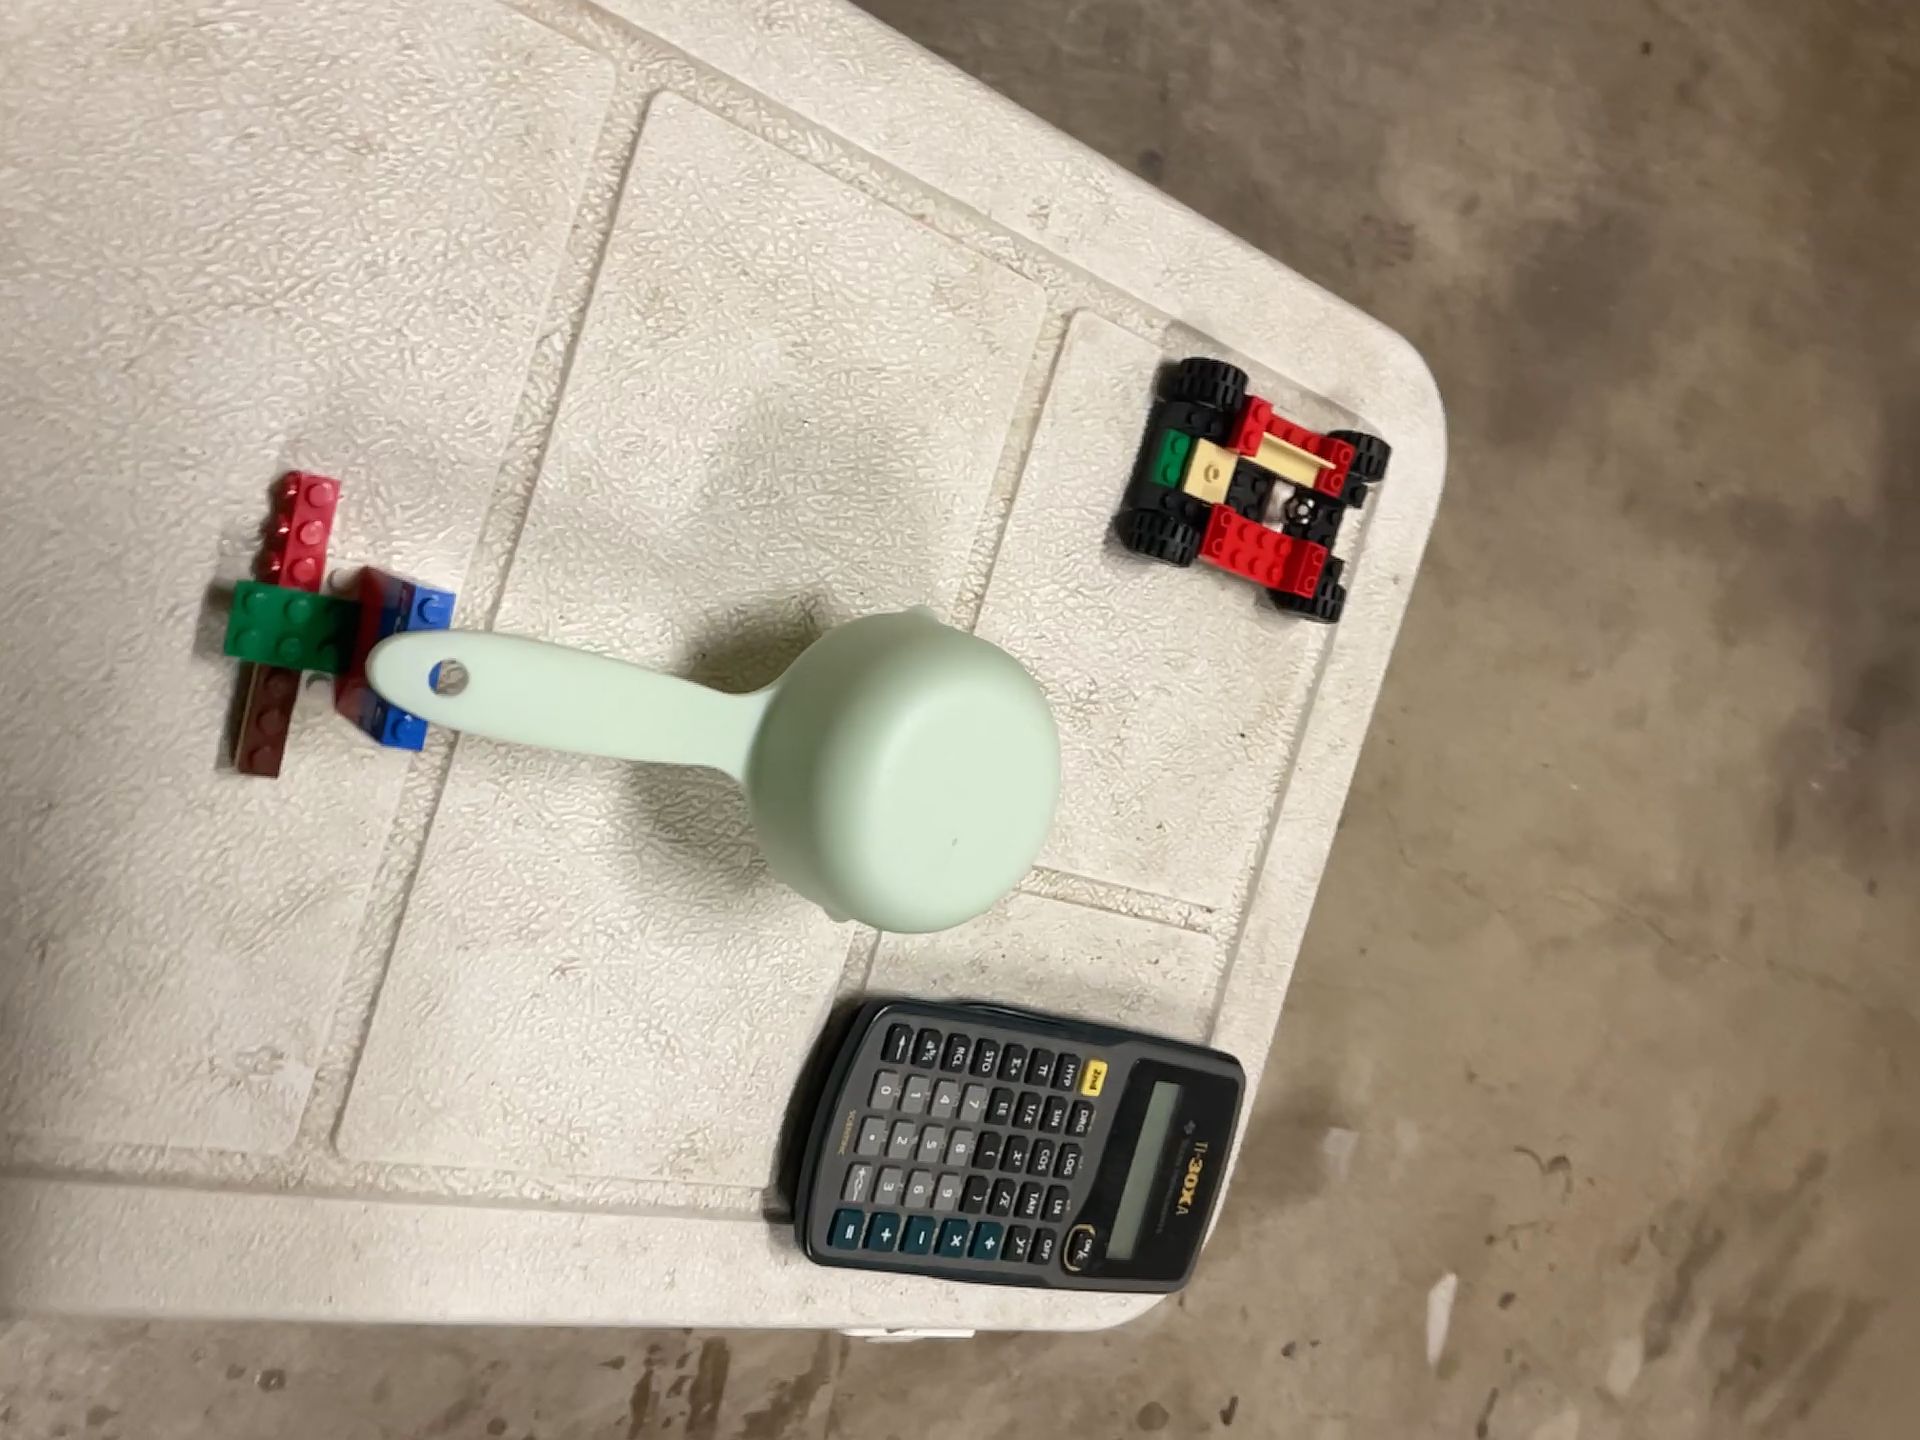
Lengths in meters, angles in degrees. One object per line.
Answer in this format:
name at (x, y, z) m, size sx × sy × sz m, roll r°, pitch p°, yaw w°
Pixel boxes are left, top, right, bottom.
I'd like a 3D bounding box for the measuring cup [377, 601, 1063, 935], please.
measuring cup at (-0.042, 0.006, 0.354) m, size 0.168 × 0.038 × 0.083 m, roll 14°, pitch 92°, yaw -42°
